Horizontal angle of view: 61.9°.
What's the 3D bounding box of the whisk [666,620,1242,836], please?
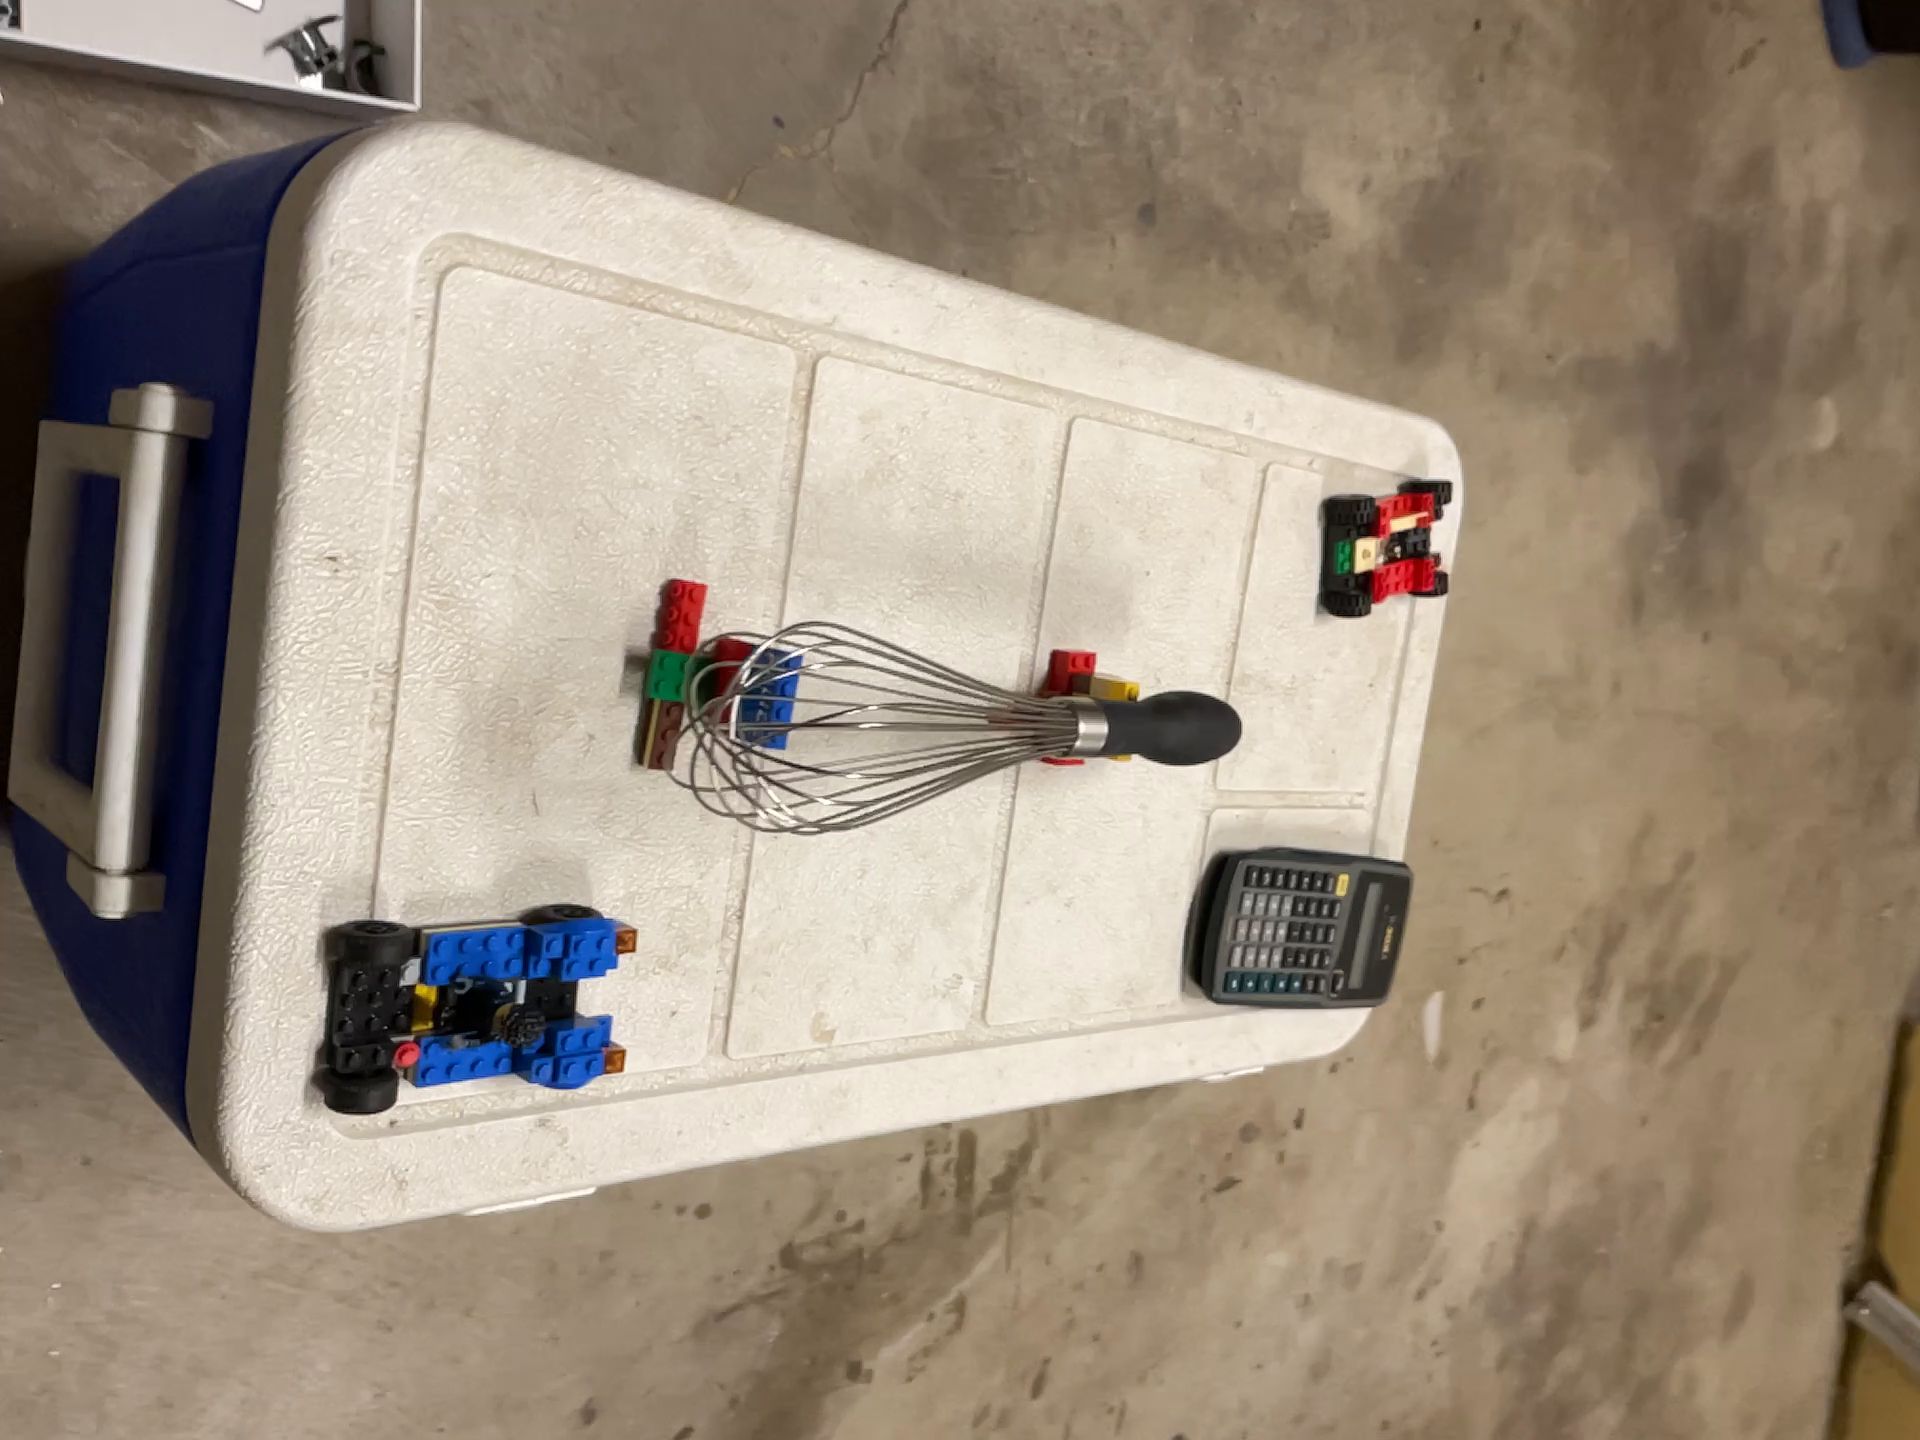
[{"bbox_3d":[0.019,0.002,0.549,0.285,0.070,0.070,0,95,-49],"label":"whisk"}]
